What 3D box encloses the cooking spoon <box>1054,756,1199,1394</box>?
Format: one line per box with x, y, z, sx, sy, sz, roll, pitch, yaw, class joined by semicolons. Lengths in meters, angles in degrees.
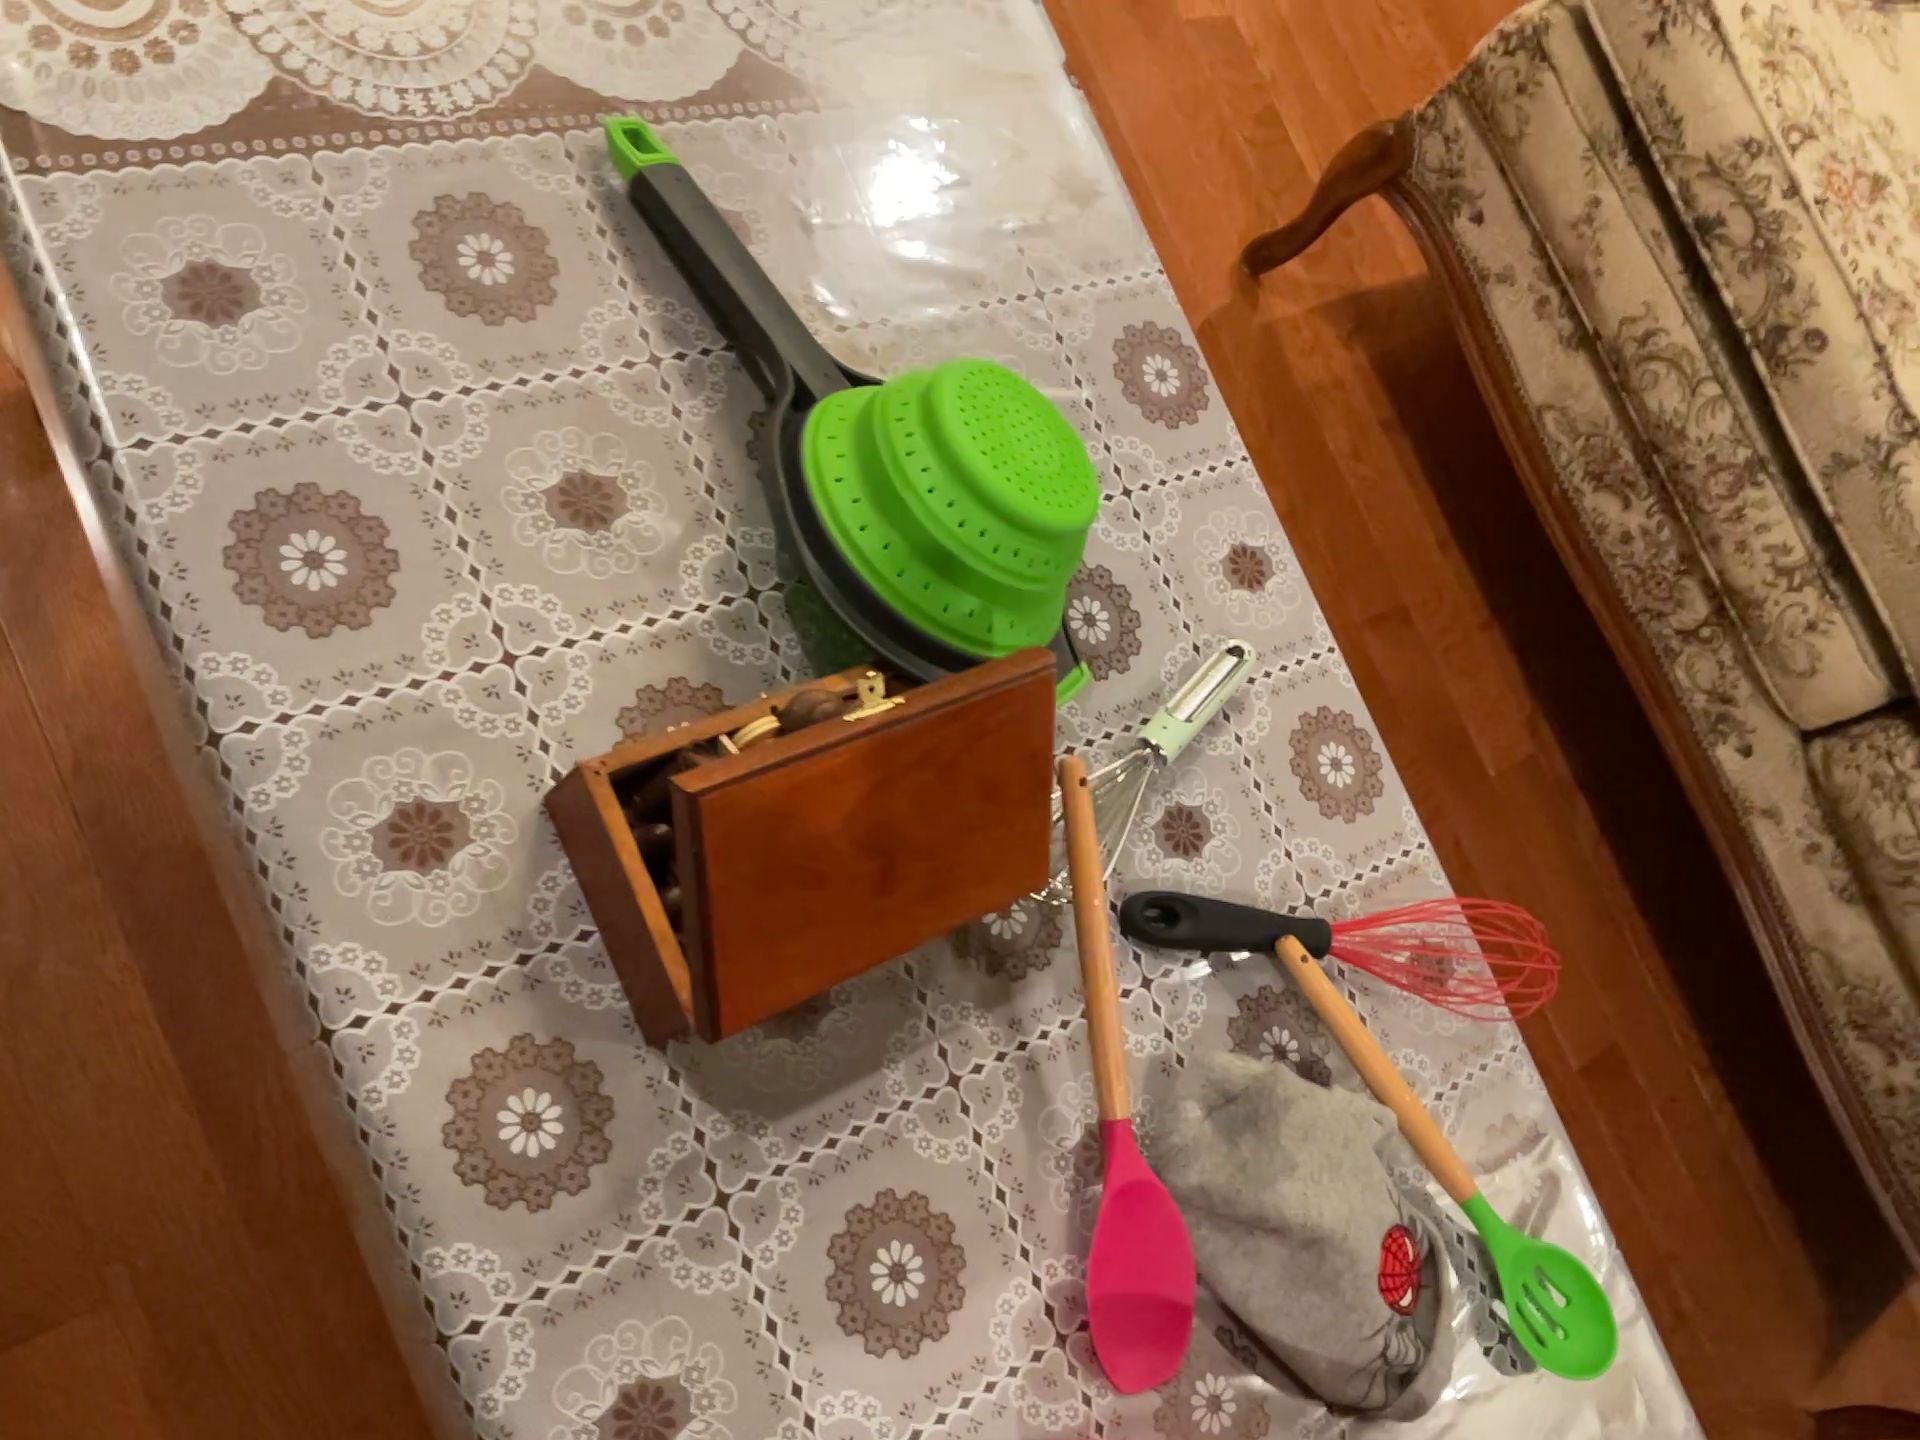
0.076;0.177;0.806;0.068;0.017;0.319;-6;87;-33;cooking spoon

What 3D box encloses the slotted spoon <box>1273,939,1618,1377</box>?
0.274;0.248;0.908;0.070;0.031;0.313;-42;99;-33;slotted spoon

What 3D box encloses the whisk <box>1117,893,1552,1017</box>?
0.224;0.128;0.920;0.295;0.073;0.073;9;75;-20;whisk

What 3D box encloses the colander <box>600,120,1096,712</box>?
-0.047;-0.181;0.824;0.397;0.094;0.204;53;36;5;colander

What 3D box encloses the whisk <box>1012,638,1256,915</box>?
0.100;0.025;0.896;0.246;0.059;0.057;-43;138;-35;whisk
